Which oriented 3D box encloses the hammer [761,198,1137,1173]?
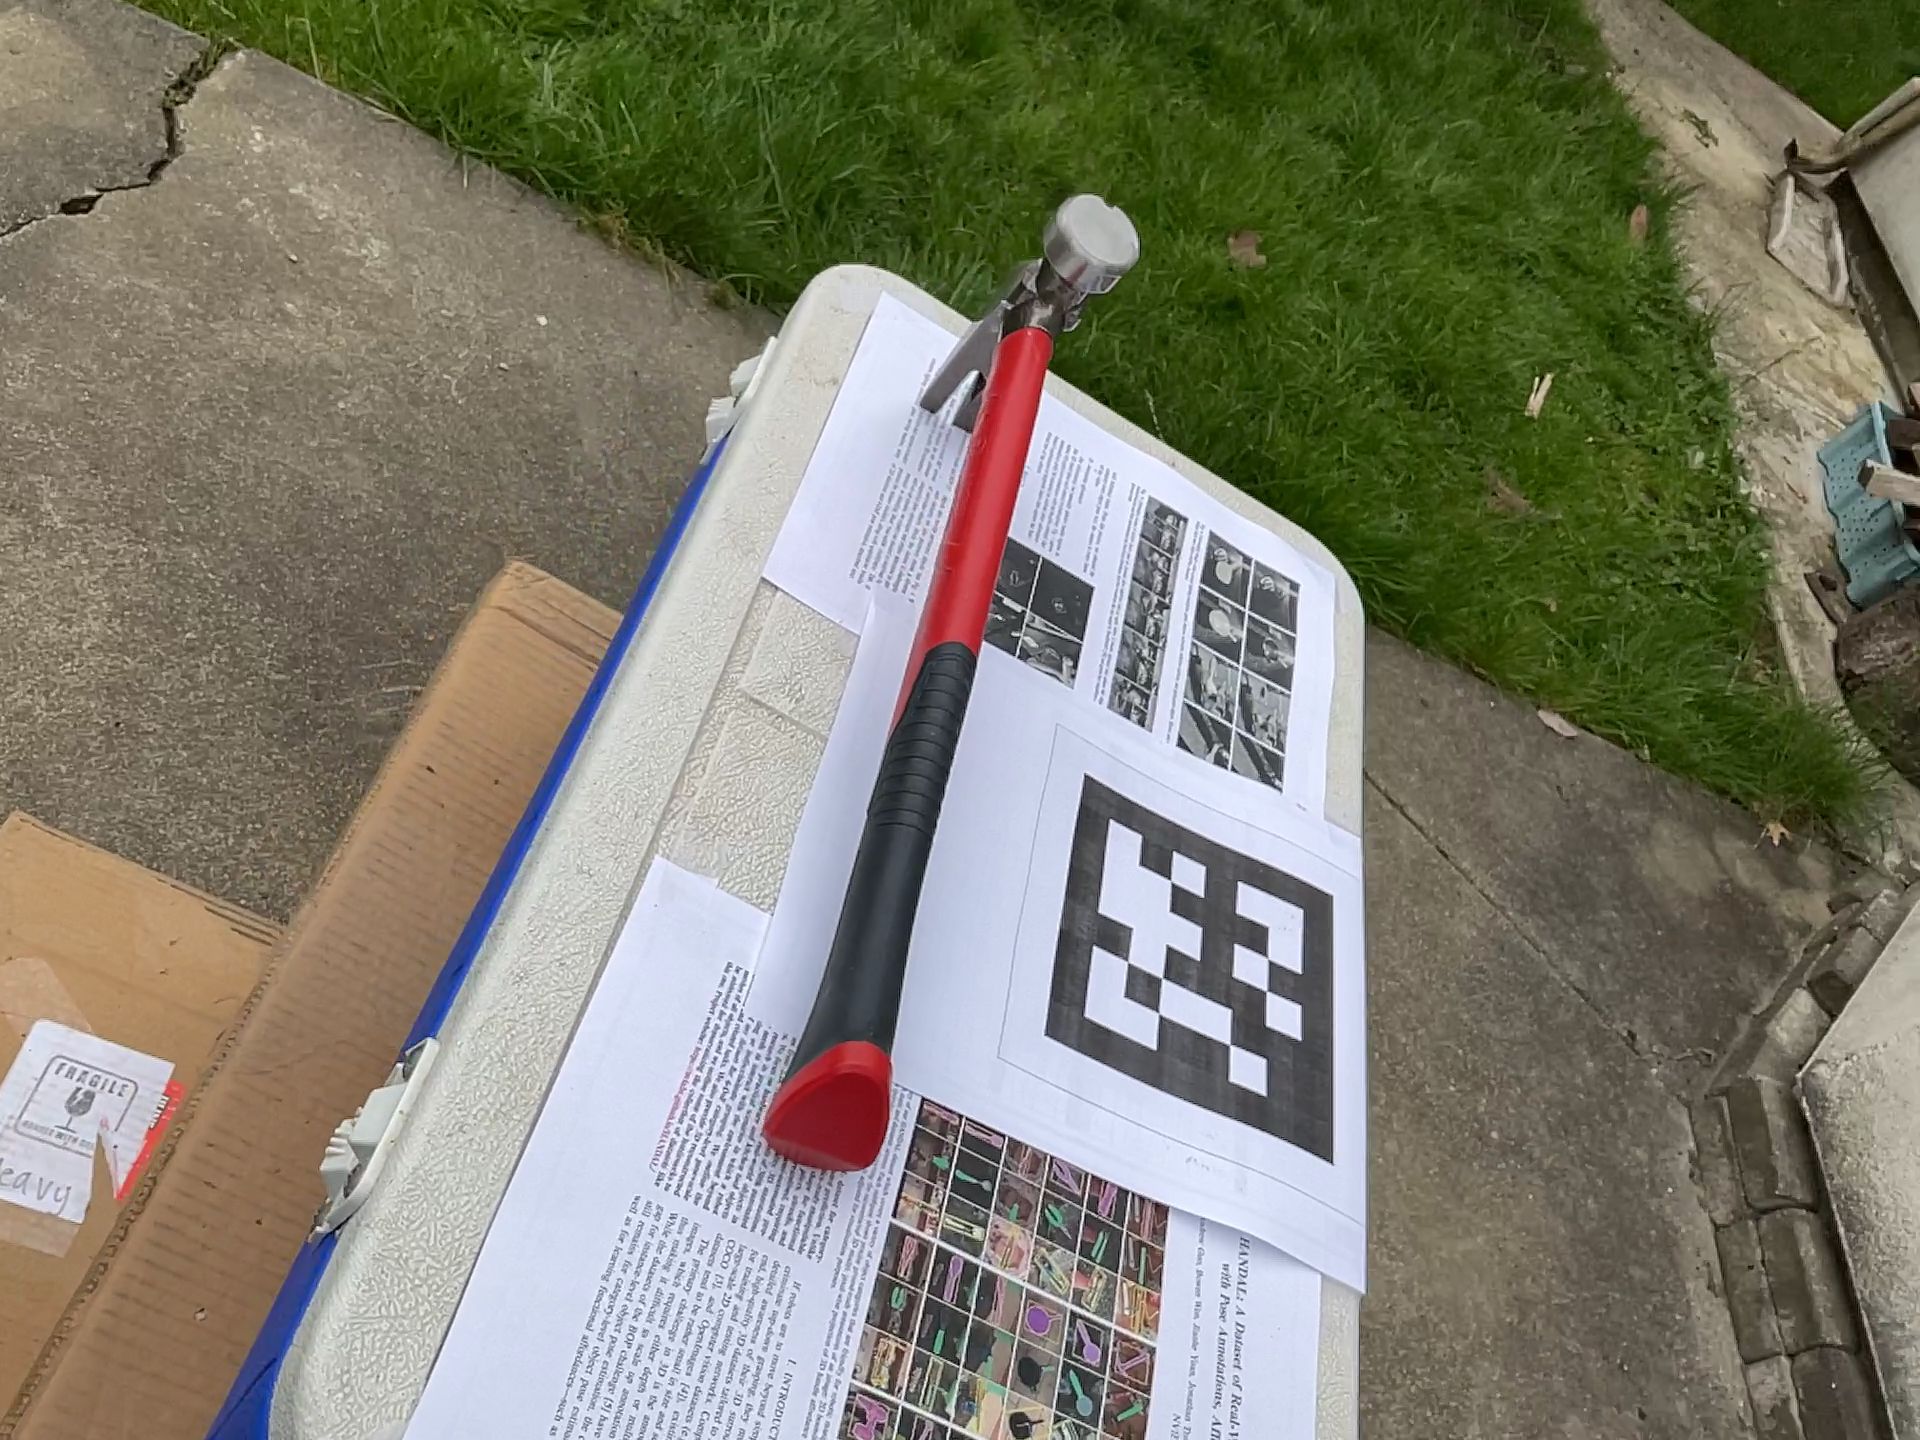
[{"bbox_3d":[-0.012,-0.021,0.600,0.038,0.143,0.386,25,57,-17],"label":"hammer"}]
